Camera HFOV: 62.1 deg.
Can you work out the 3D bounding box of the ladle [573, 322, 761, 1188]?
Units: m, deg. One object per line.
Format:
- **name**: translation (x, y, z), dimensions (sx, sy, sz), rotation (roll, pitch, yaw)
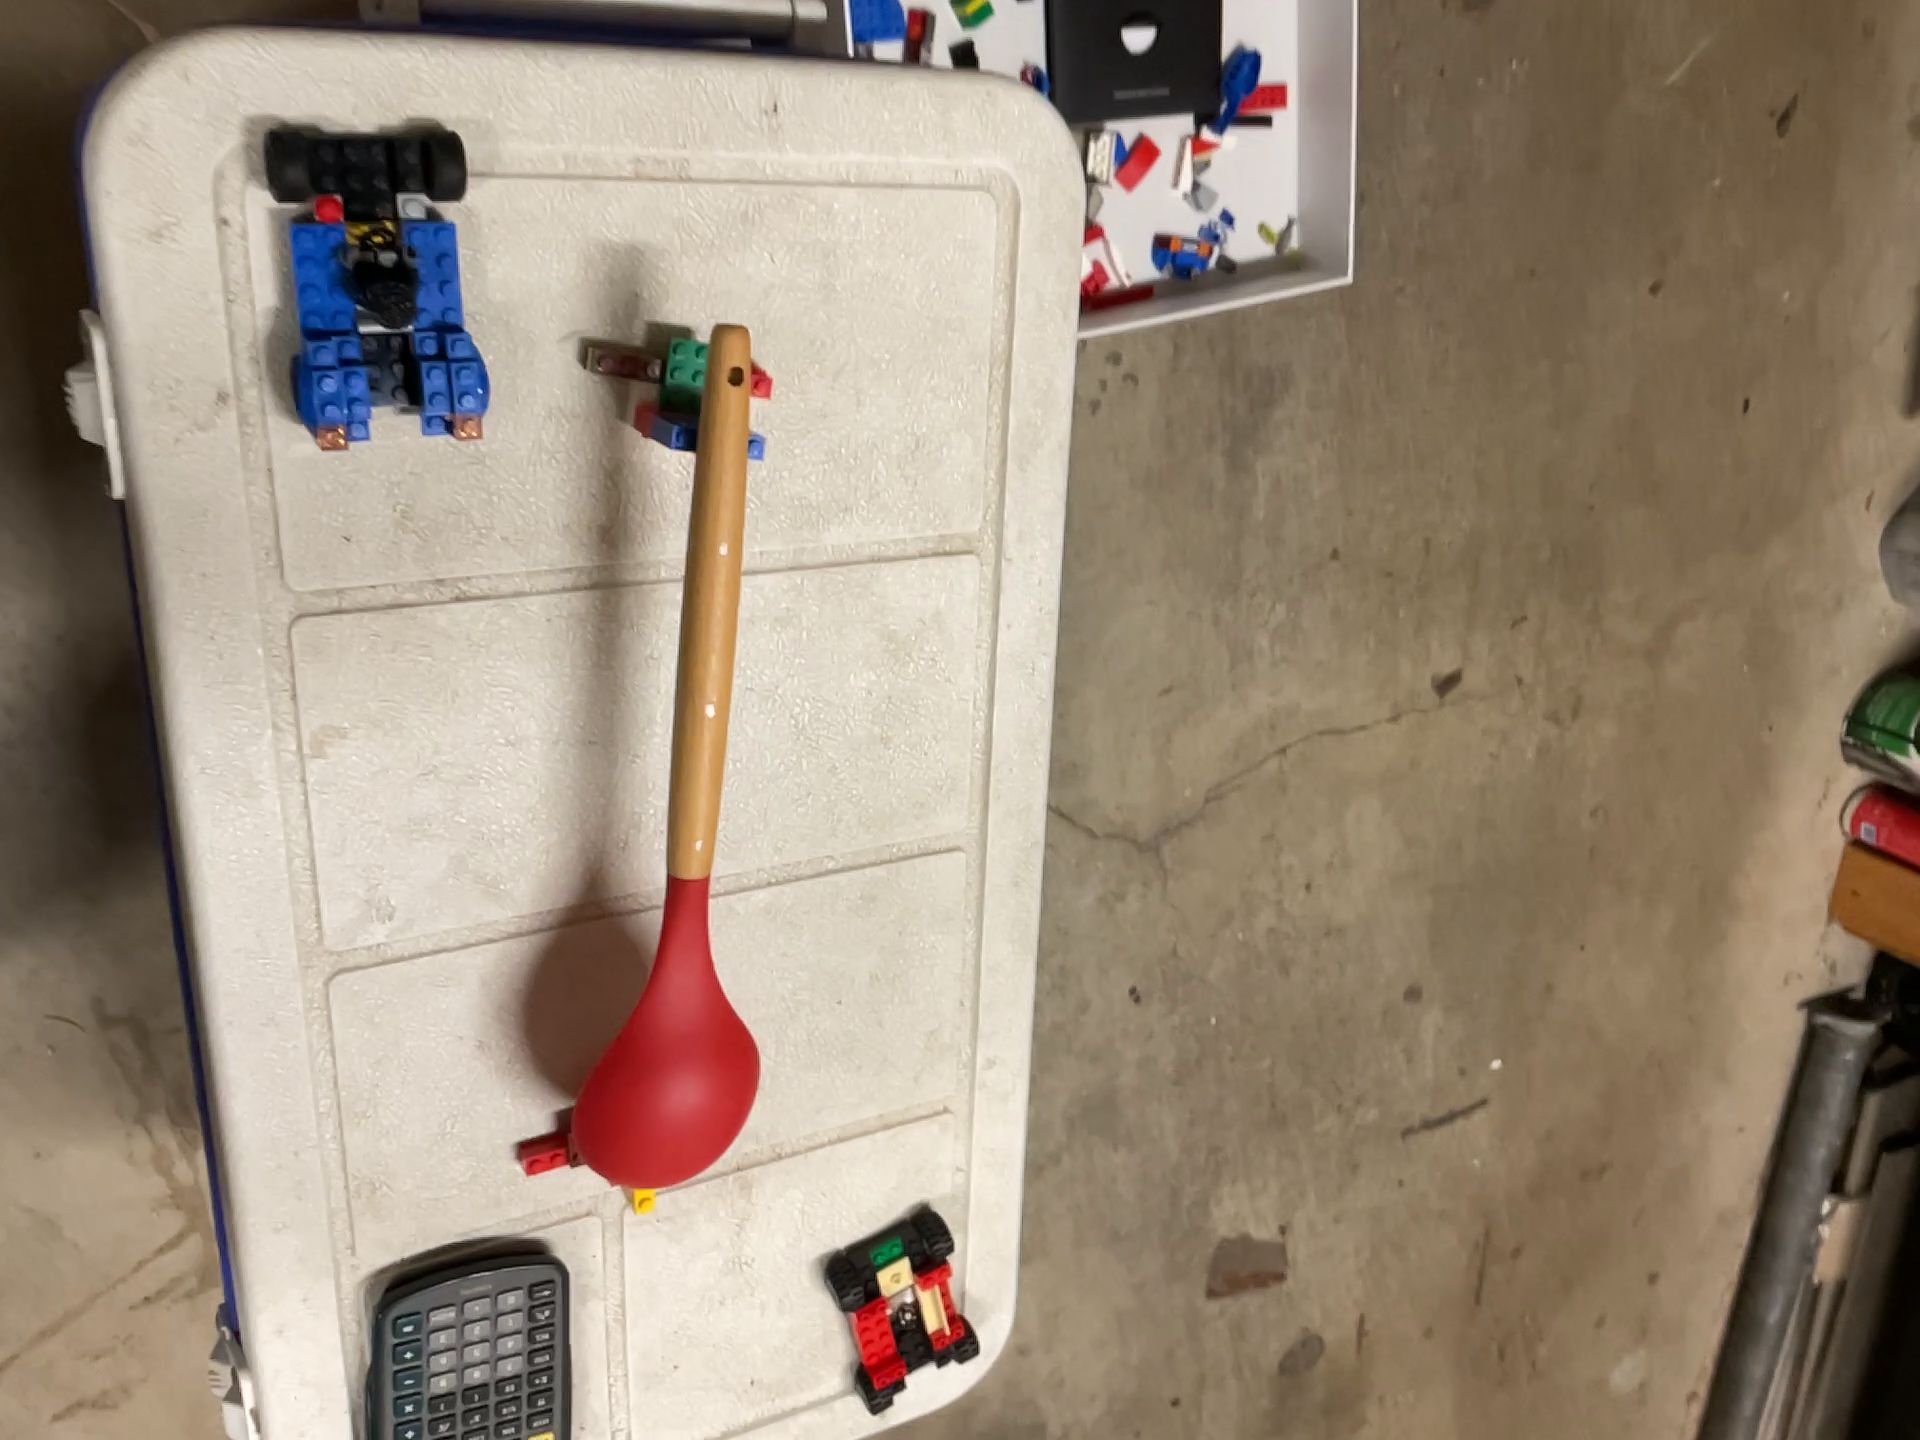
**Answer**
- **ladle**: translation (-0.089, 0.027, 0.540), dimensions (0.069, 0.031, 0.315), rotation (-2, 110, -29)
